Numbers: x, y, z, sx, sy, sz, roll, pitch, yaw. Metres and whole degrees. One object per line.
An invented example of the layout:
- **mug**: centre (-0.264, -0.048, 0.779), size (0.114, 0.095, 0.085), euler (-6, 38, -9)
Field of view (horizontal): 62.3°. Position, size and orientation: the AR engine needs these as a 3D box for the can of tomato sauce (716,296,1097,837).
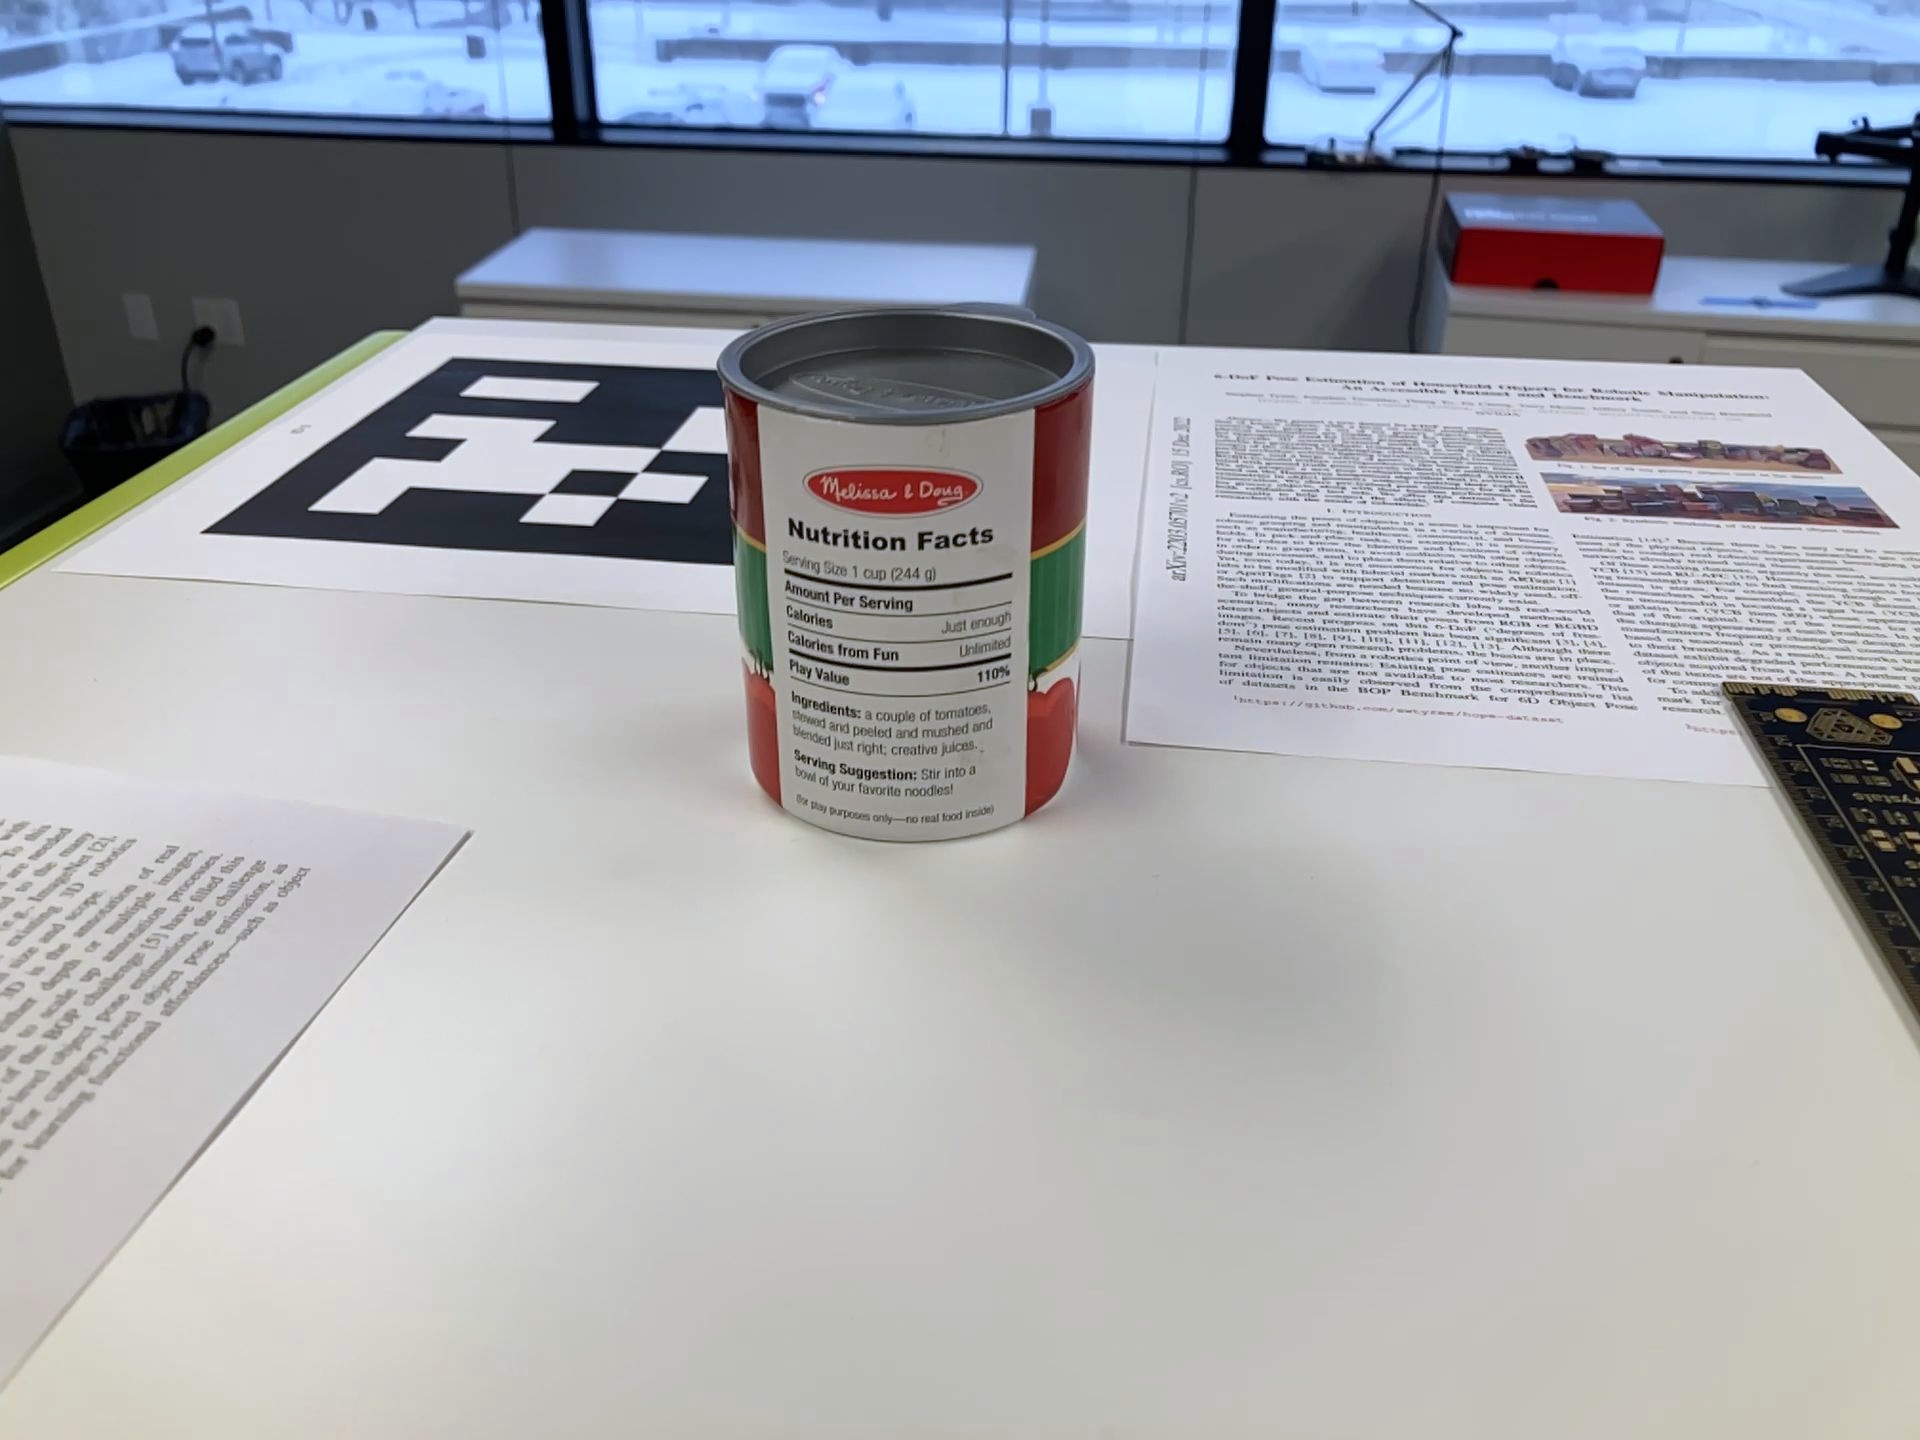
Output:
- **can of tomato sauce**: centre (-0.009, -0.031, 0.300), size (0.071, 0.083, 0.071), euler (0, 29, 0)
